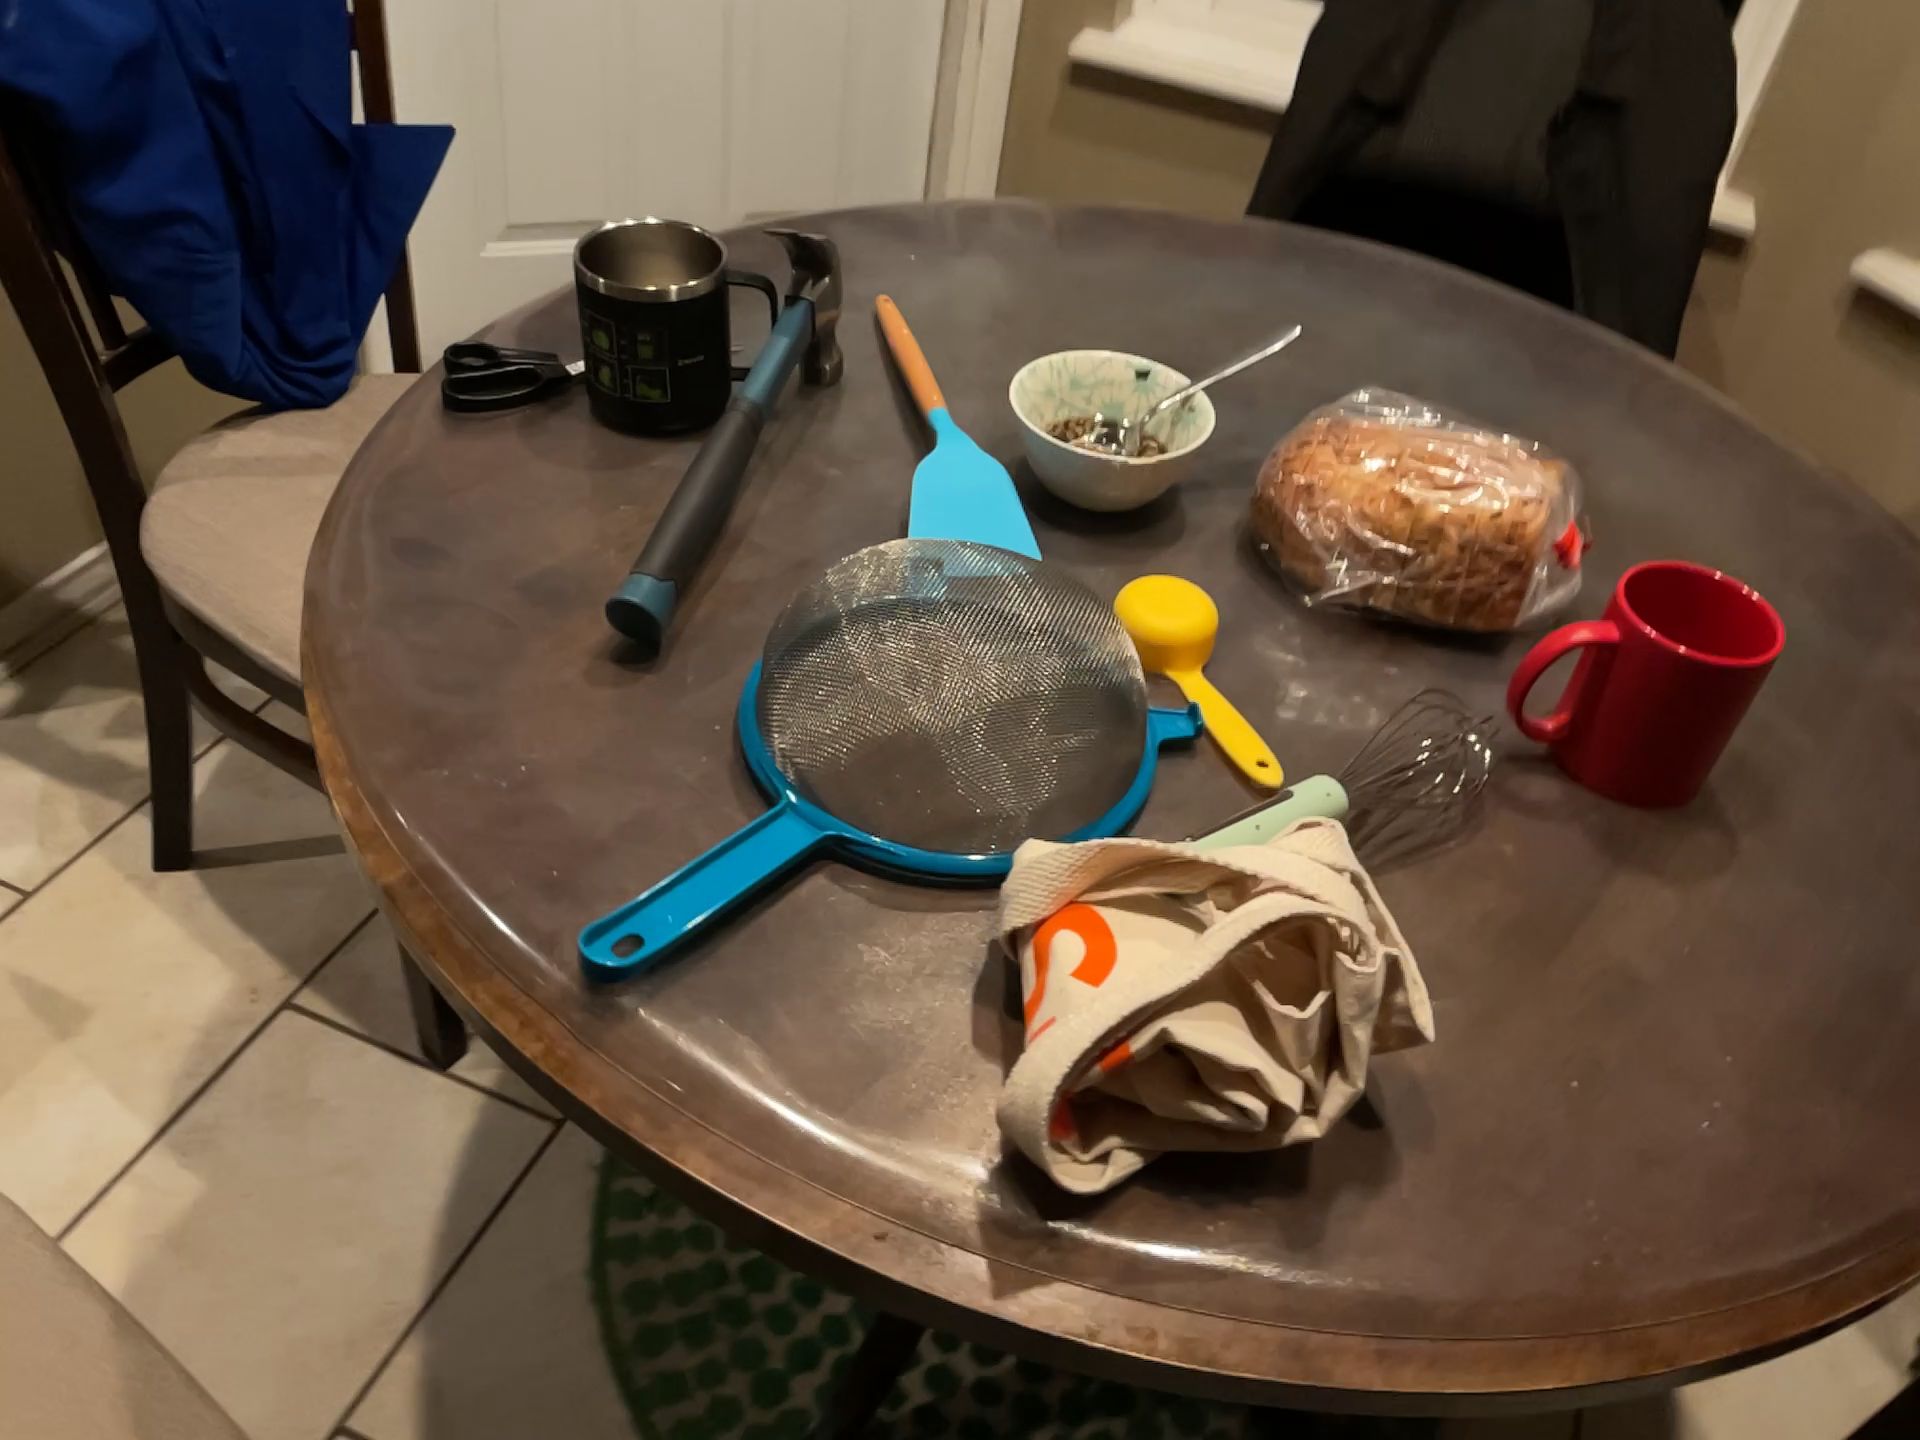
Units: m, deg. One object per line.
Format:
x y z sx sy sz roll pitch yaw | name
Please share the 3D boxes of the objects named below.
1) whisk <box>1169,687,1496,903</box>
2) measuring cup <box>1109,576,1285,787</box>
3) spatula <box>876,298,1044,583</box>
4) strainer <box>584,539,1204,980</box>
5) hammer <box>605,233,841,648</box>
0.176 0.035 0.744 0.246 0.057 0.059 -20 78 -40 | whisk
0.130 -0.024 0.840 0.062 0.029 0.157 -11 42 -20 | measuring cup
-0.022 -0.191 1.017 0.082 0.044 0.318 -4 38 -12 | spatula
-0.039 0.000 0.737 0.211 0.095 0.340 31 41 25 | strainer
-0.127 -0.163 0.919 0.033 0.128 0.331 11 49 8 | hammer
